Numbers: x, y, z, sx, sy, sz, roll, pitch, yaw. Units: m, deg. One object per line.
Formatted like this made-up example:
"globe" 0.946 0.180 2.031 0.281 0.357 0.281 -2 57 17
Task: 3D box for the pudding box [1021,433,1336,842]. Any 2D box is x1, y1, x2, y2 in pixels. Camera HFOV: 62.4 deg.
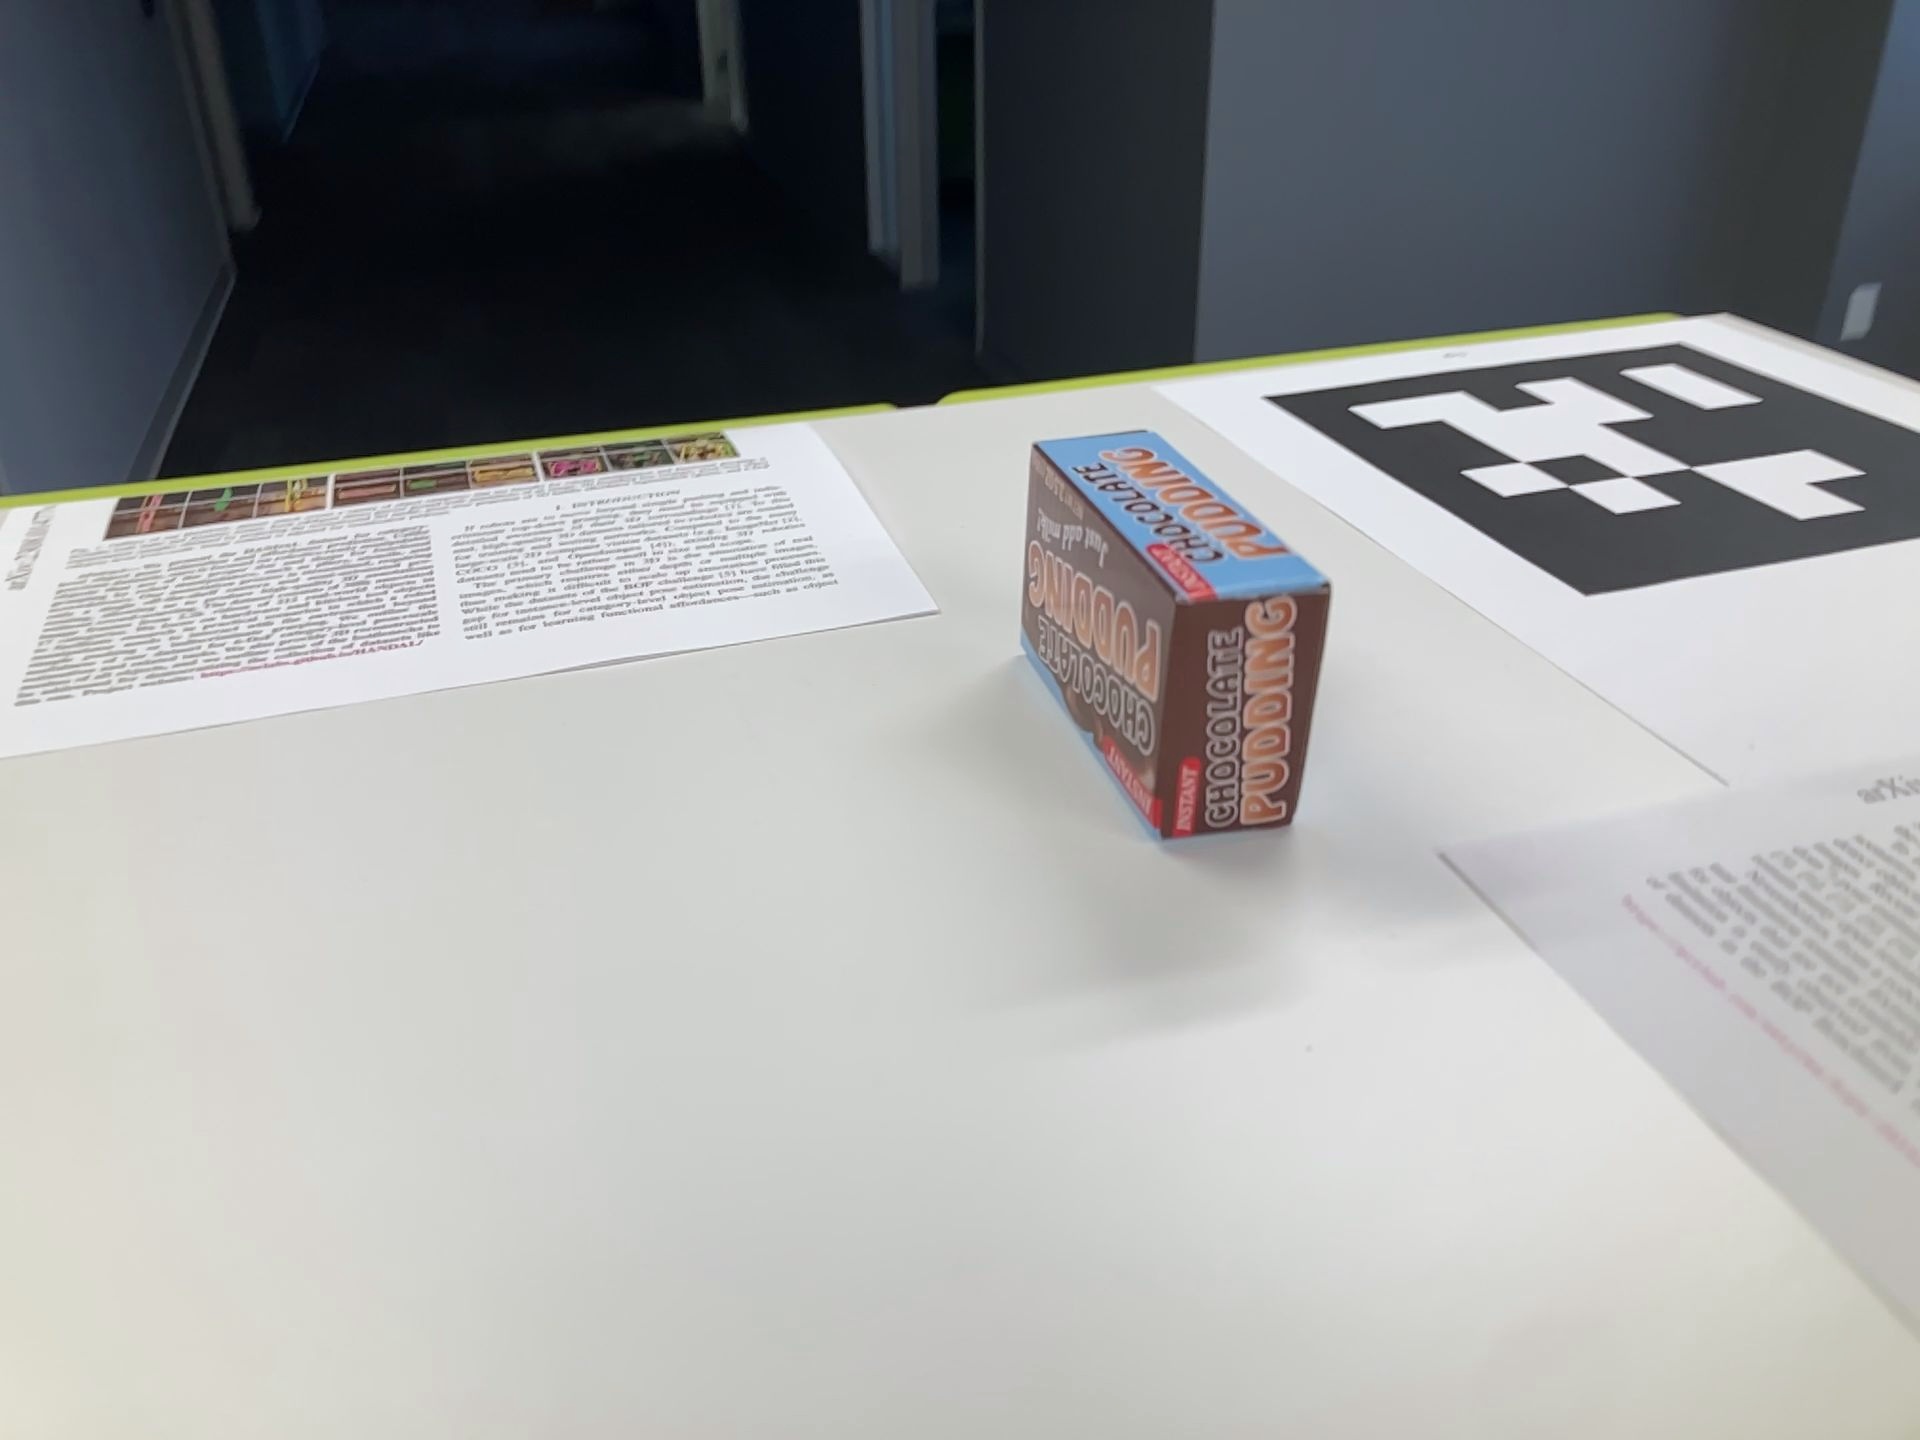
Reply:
"pudding box" 0.038 -0.019 0.307 0.030 0.049 0.083 -6 29 -14
